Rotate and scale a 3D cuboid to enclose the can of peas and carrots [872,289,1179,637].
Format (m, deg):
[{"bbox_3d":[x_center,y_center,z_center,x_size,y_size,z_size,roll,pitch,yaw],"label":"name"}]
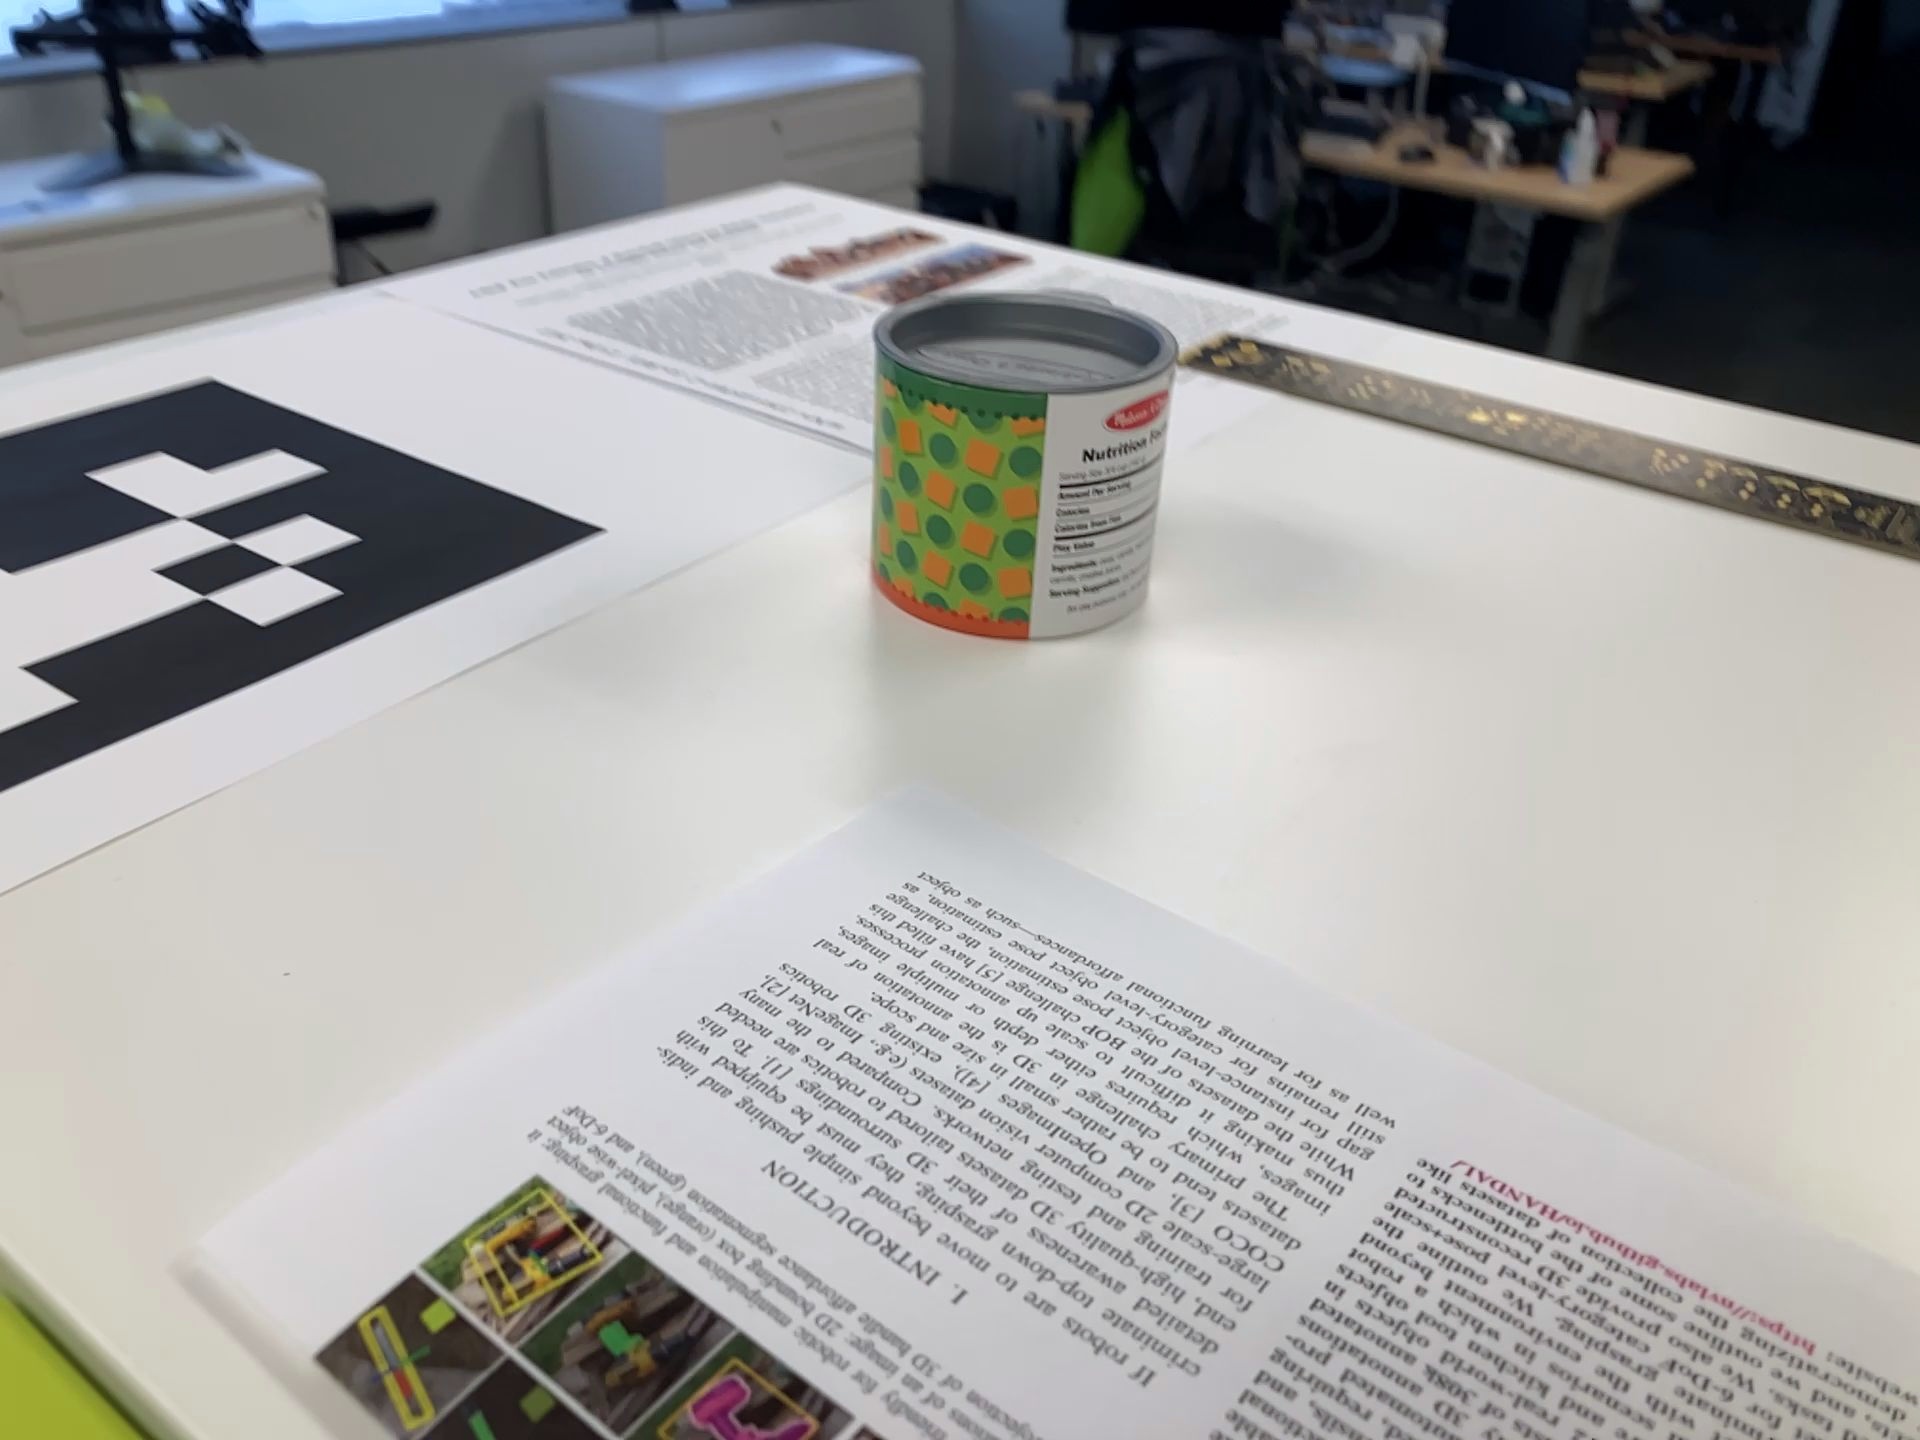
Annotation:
[{"bbox_3d":[0.011,-0.060,0.361,0.071,0.059,0.071,2,31,-1],"label":"can of peas and carrots"}]
